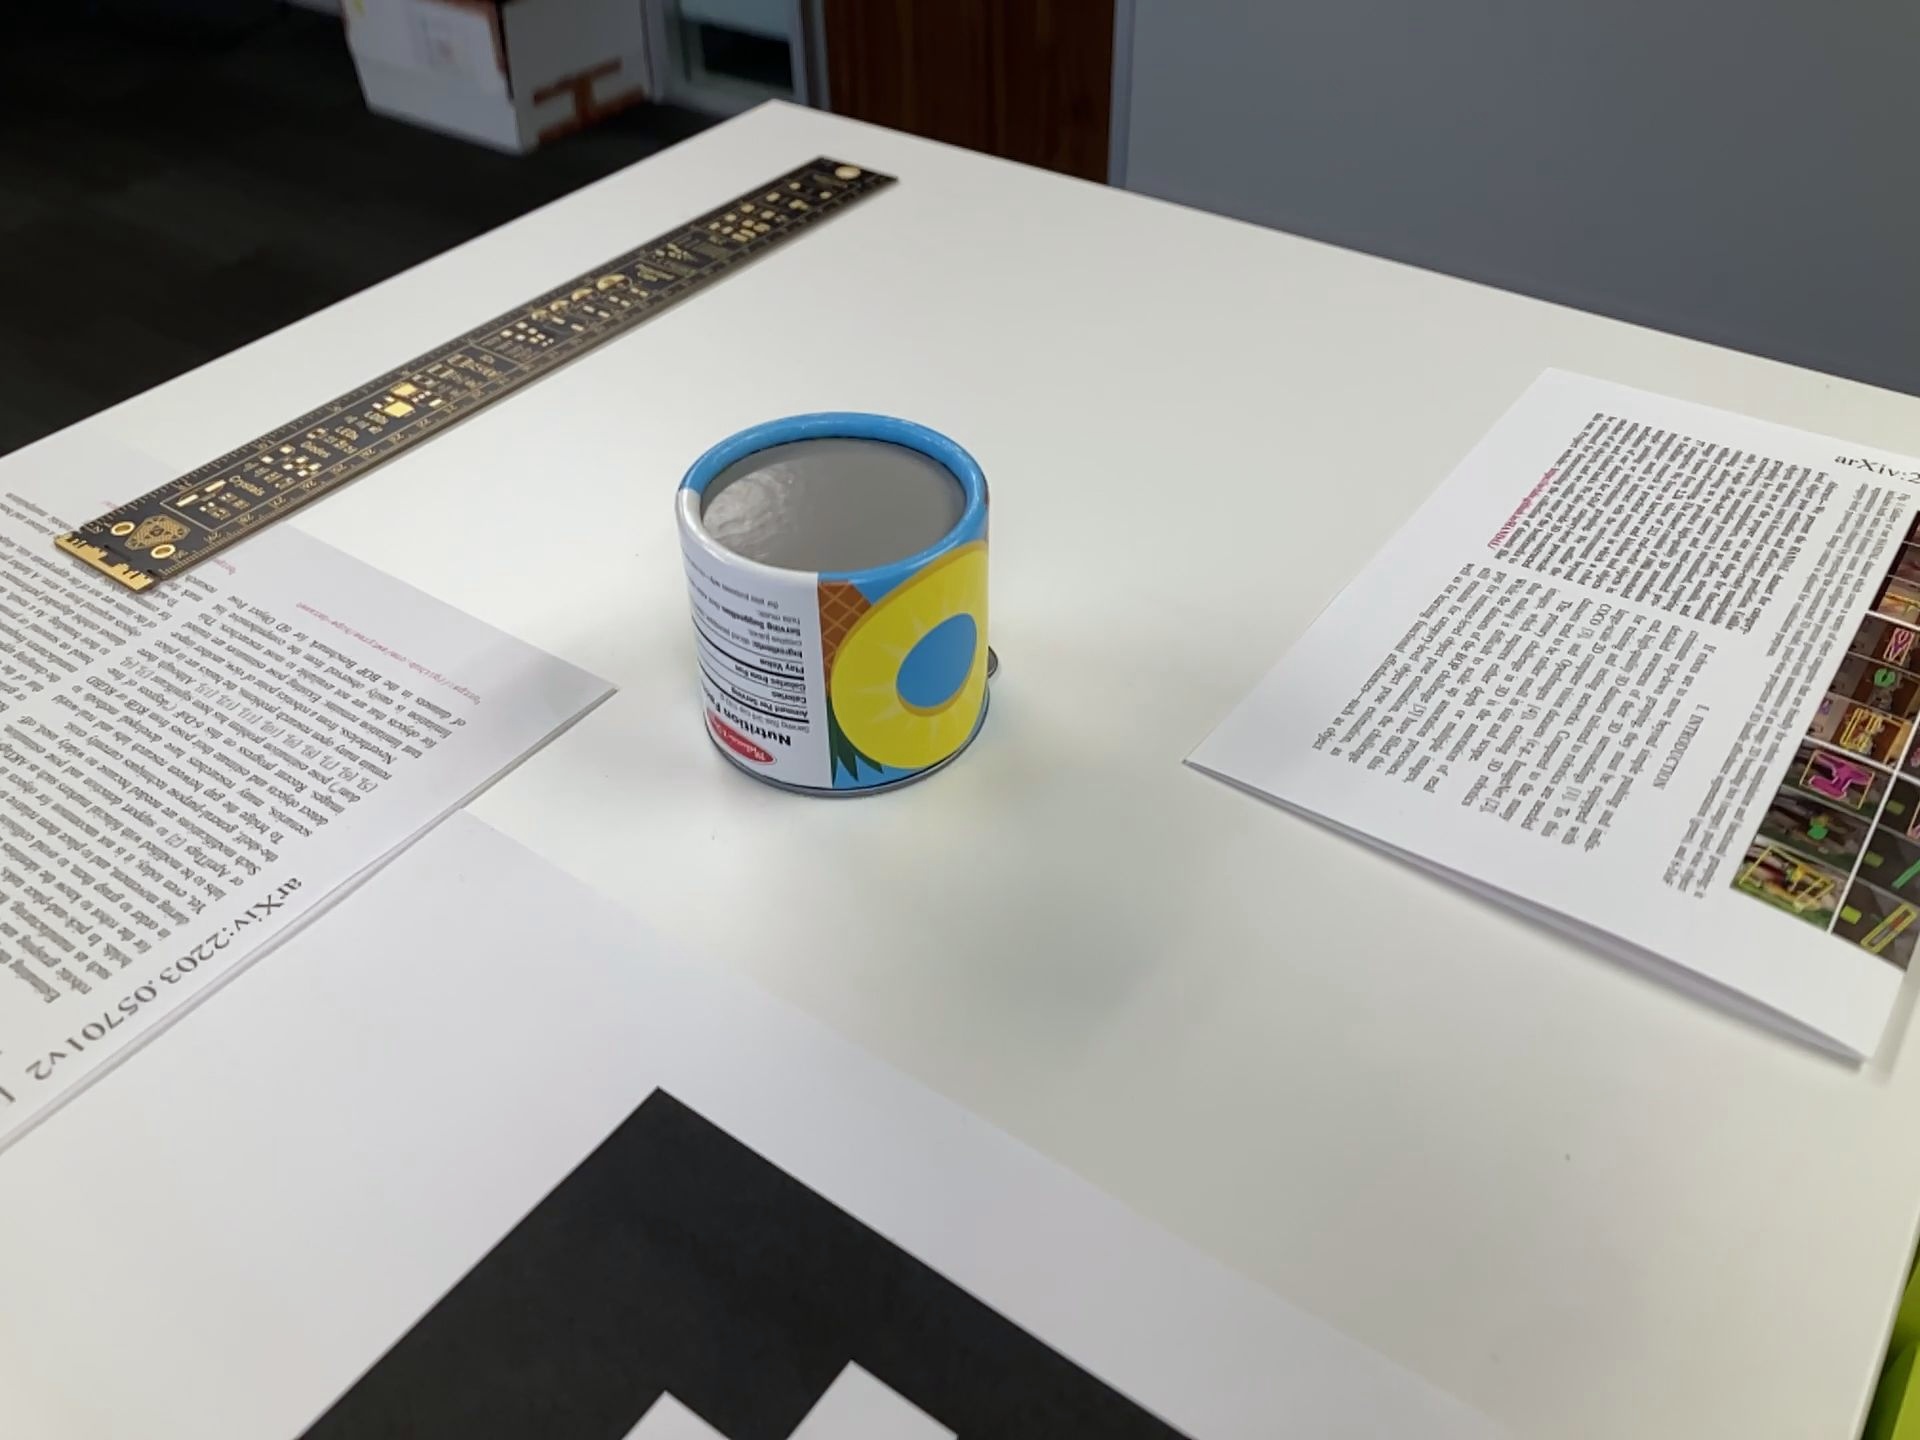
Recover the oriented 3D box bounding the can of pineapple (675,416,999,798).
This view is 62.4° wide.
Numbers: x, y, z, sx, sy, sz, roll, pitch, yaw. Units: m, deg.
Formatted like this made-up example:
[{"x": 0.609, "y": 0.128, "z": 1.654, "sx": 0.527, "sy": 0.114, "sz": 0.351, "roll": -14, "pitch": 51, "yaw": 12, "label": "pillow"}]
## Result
[{"x": -0.025, "y": -0.027, "z": 0.351, "sx": 0.071, "sy": 0.058, "sz": 0.071, "roll": 0, "pitch": 41, "yaw": 0, "label": "can of pineapple"}]
